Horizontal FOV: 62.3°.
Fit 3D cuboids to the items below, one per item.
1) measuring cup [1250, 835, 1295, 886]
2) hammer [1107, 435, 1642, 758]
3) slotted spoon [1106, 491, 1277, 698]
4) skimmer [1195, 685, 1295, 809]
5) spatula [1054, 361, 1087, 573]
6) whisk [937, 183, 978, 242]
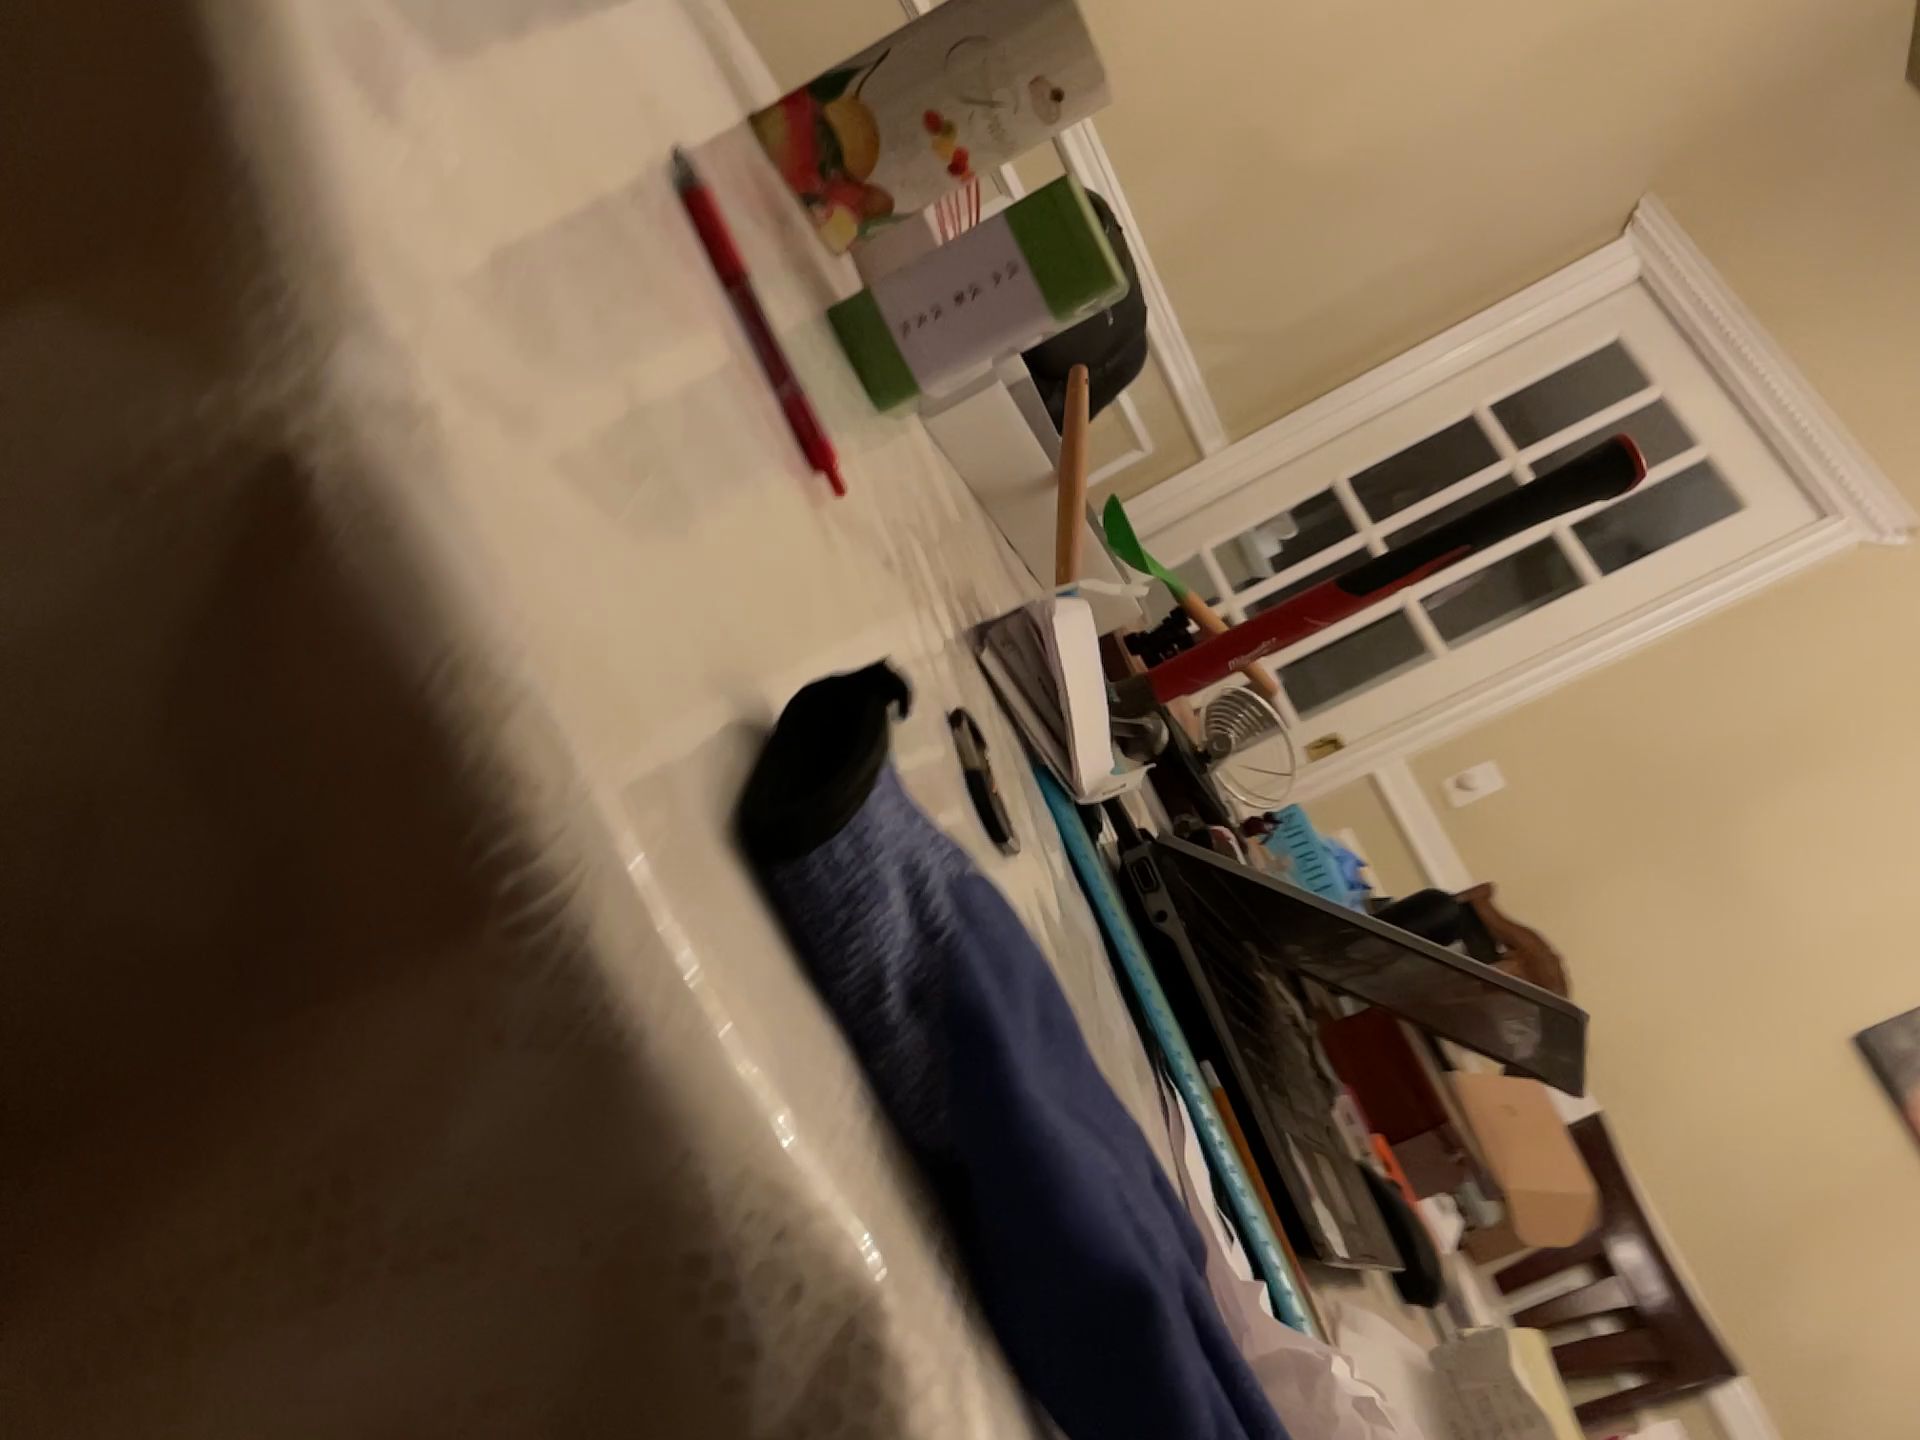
[{"bbox_3d":[0.296,0.149,1.522,0.157,0.029,0.062,55,8,33],"label":"measuring cup"},{"bbox_3d":[0.258,-0.093,1.052,0.143,0.386,0.038,48,19,-55],"label":"hammer"},{"bbox_3d":[0.204,-0.096,1.374,0.313,0.031,0.070,39,22,-44],"label":"slotted spoon"},{"bbox_3d":[0.254,0.018,1.407,0.363,0.090,0.127,23,43,-80],"label":"skimmer"},{"bbox_3d":[0.079,-0.106,1.011,0.082,0.044,0.317,47,40,-51],"label":"spatula"},{"bbox_3d":[-0.002,-0.304,1.130,0.073,0.073,0.295,-72,152,-50],"label":"whisk"}]
